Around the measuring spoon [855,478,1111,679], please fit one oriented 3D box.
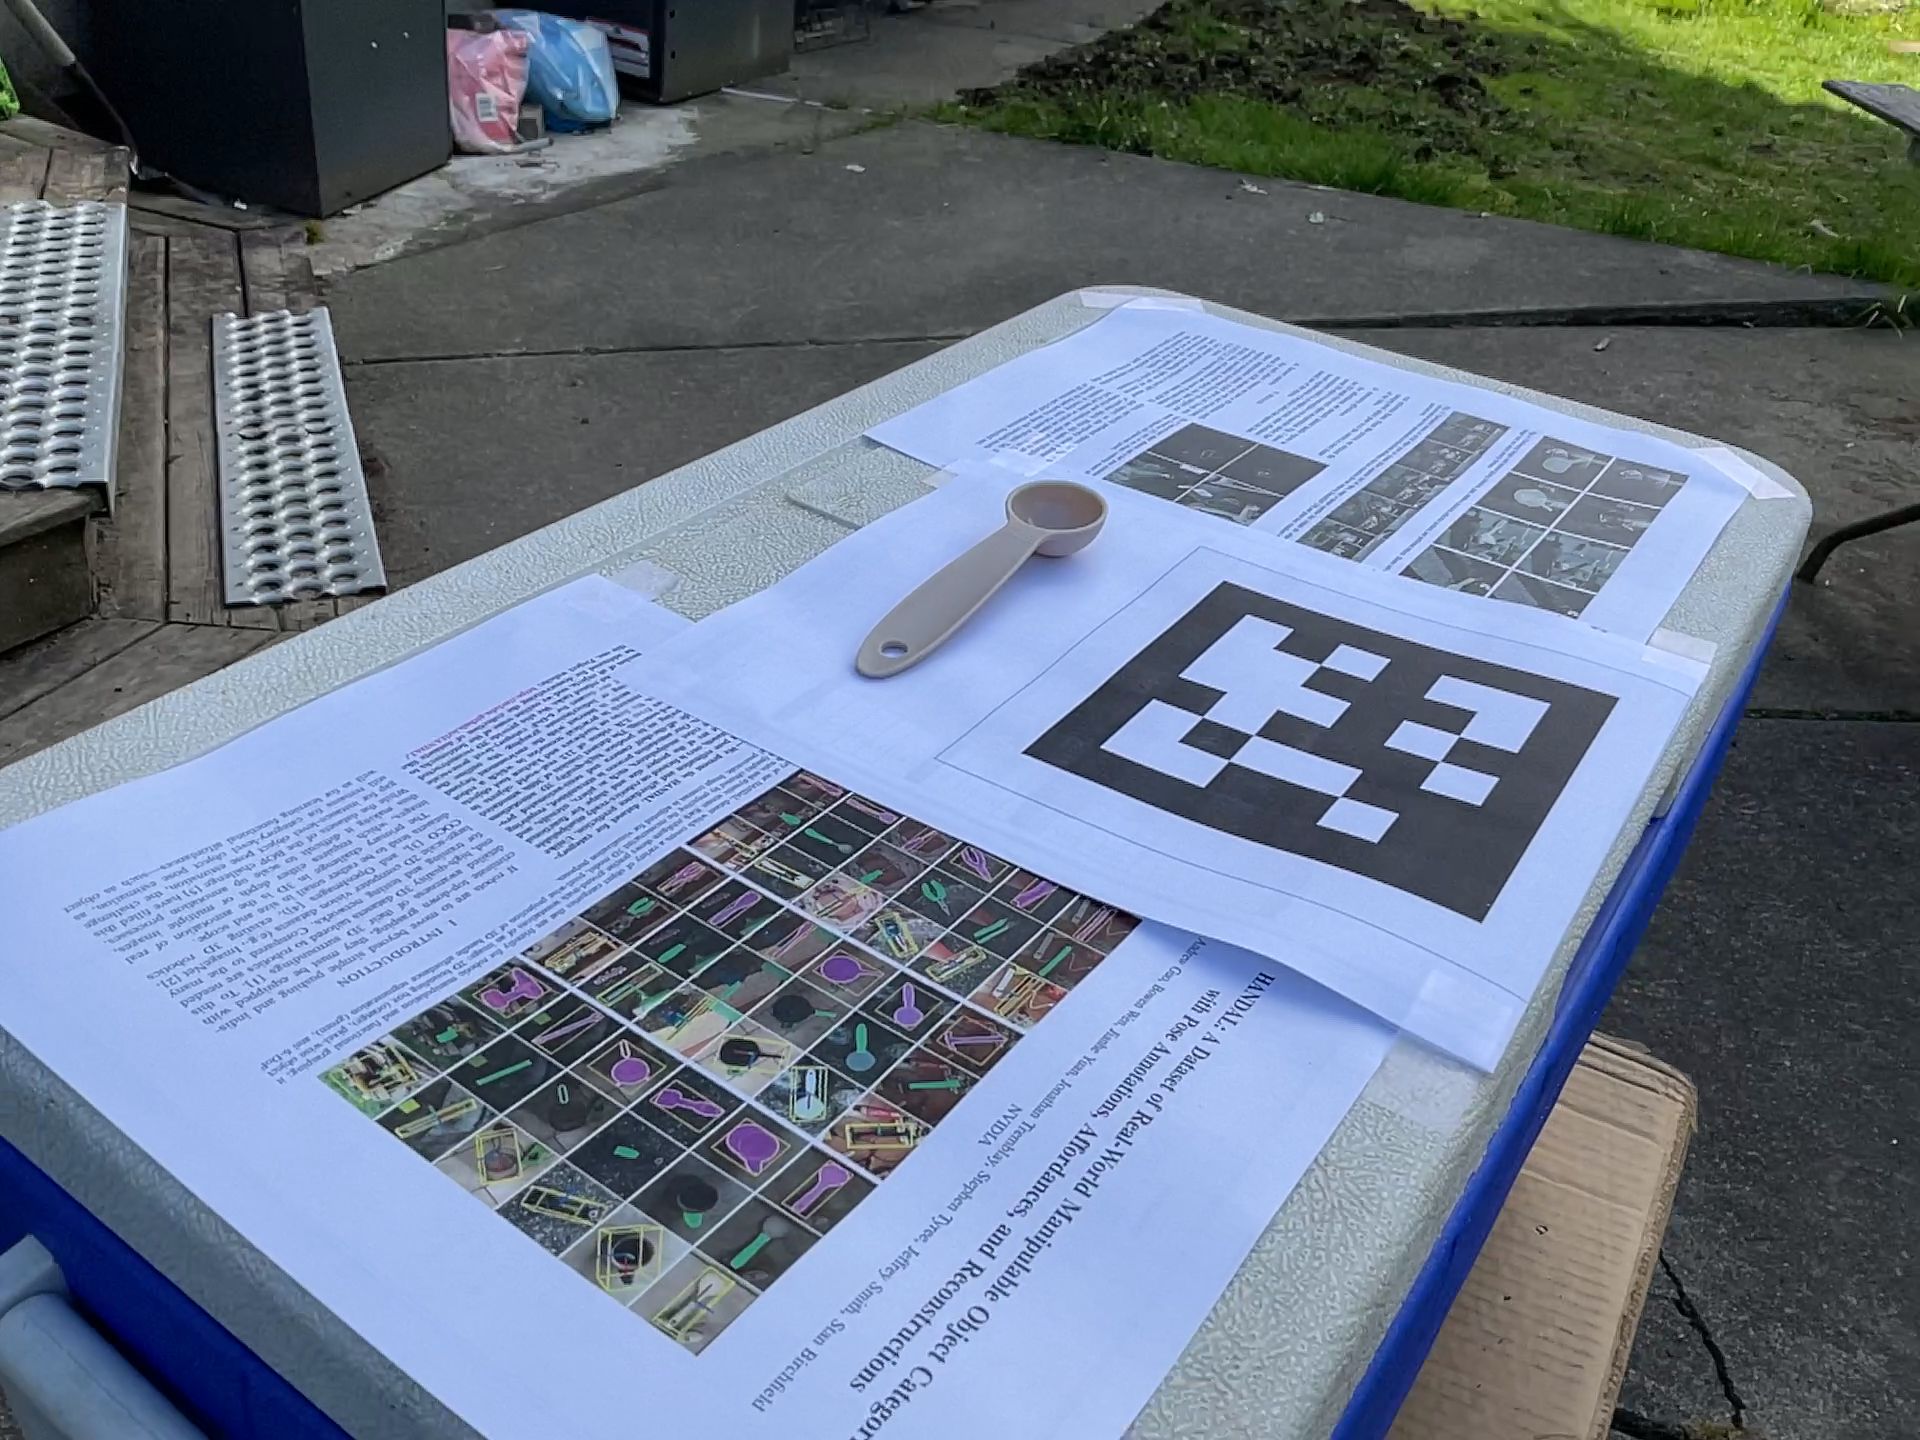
[{"bbox_3d":[0.007,-0.041,0.500,0.034,0.018,0.124,25,45,25],"label":"measuring spoon"}]
